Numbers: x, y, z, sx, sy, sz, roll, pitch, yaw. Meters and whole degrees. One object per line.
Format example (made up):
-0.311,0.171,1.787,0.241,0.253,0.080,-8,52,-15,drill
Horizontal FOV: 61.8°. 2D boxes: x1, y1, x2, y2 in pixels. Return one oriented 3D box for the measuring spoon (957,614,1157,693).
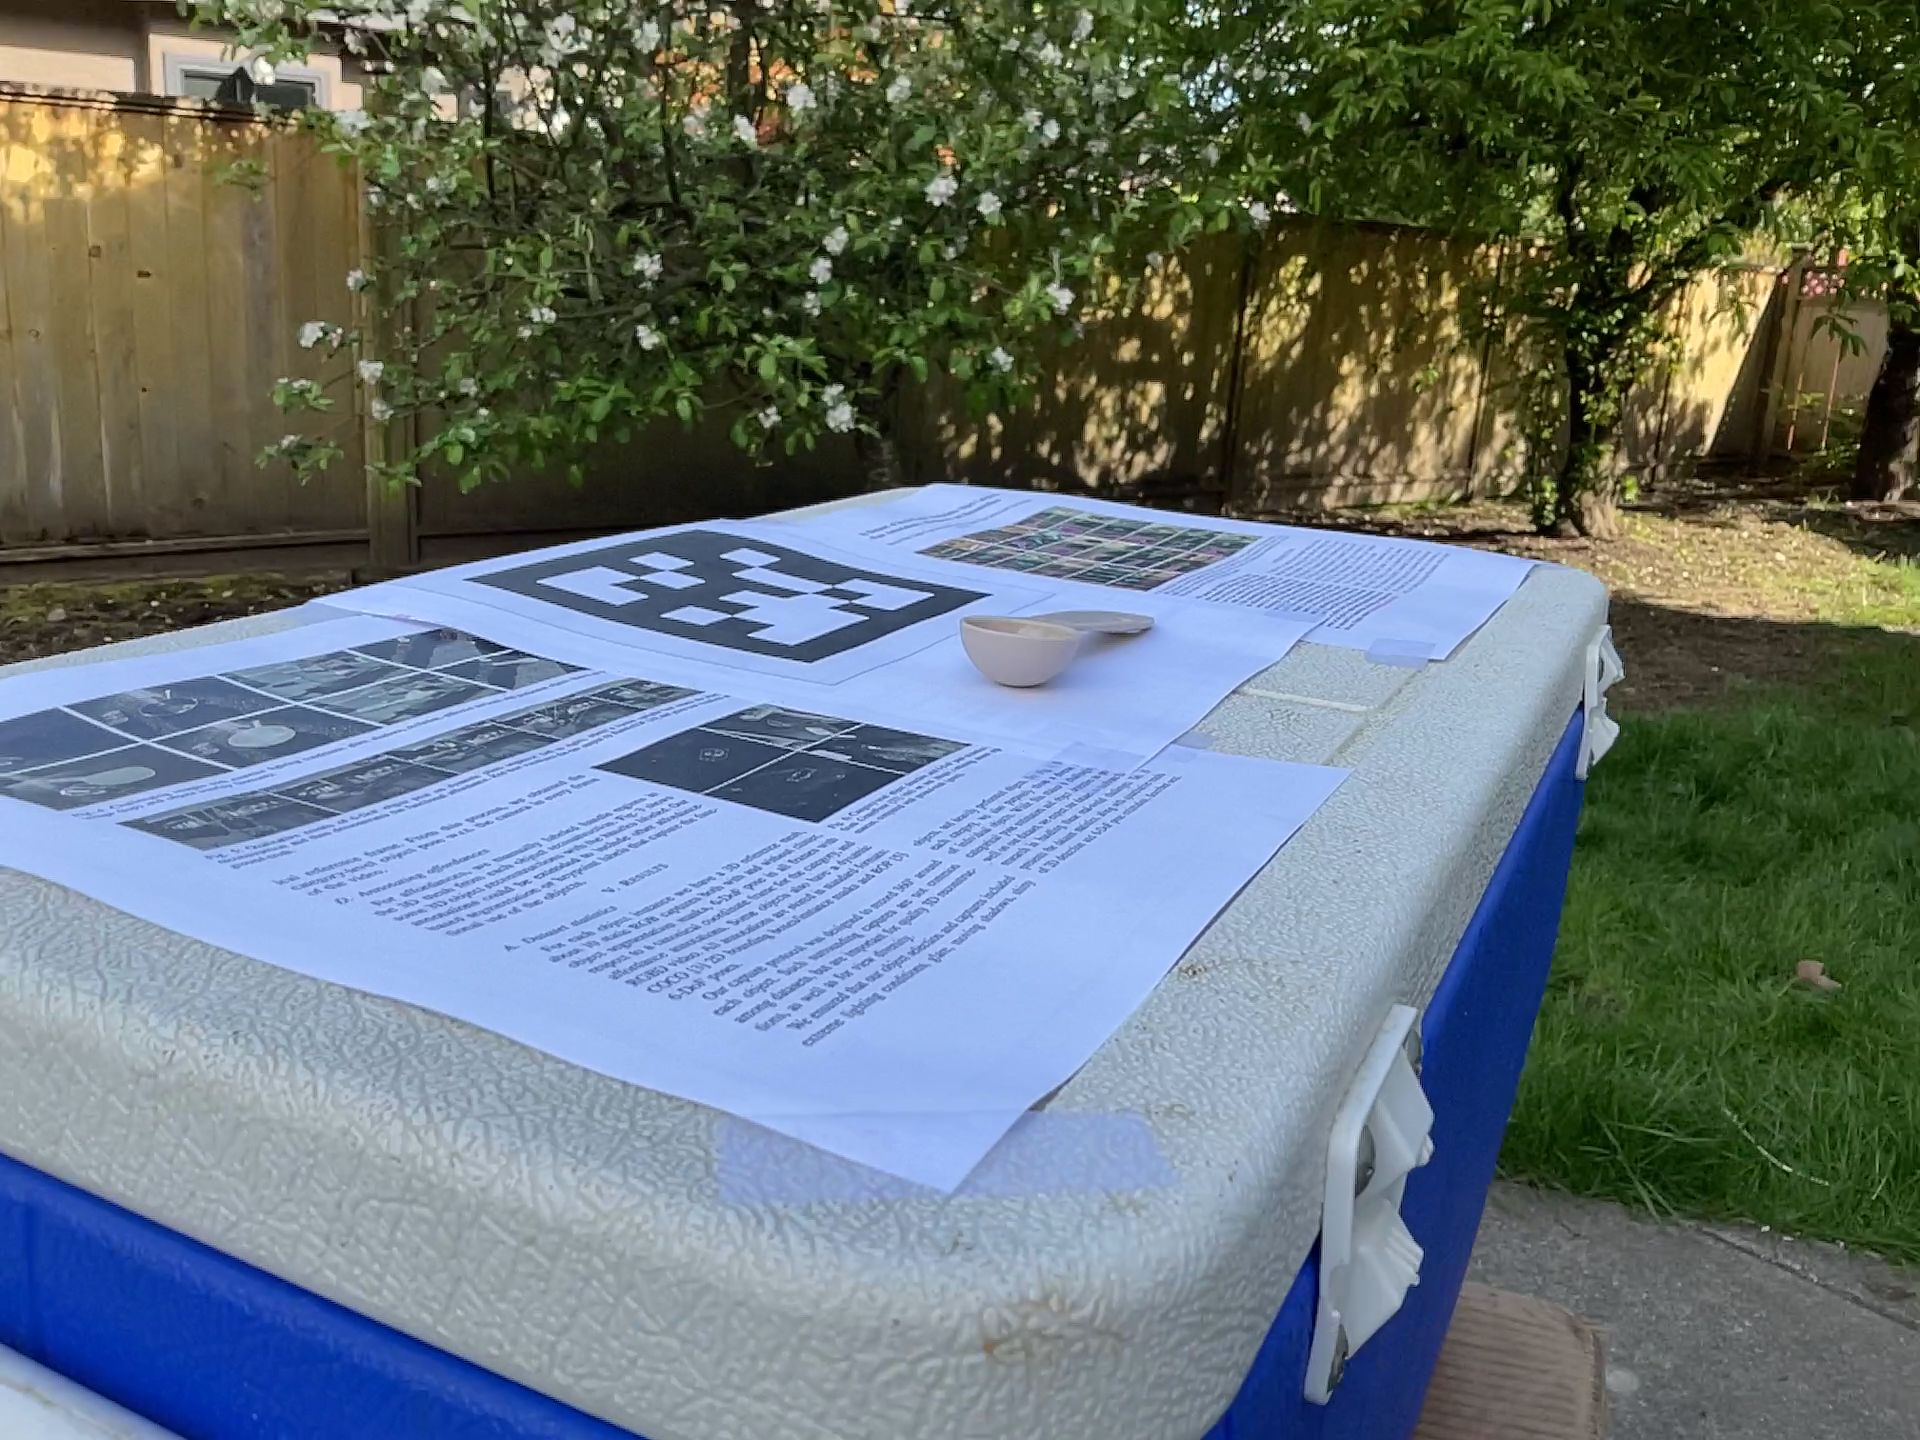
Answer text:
0.034,-0.021,0.478,0.034,0.018,0.124,10,10,24,measuring spoon
